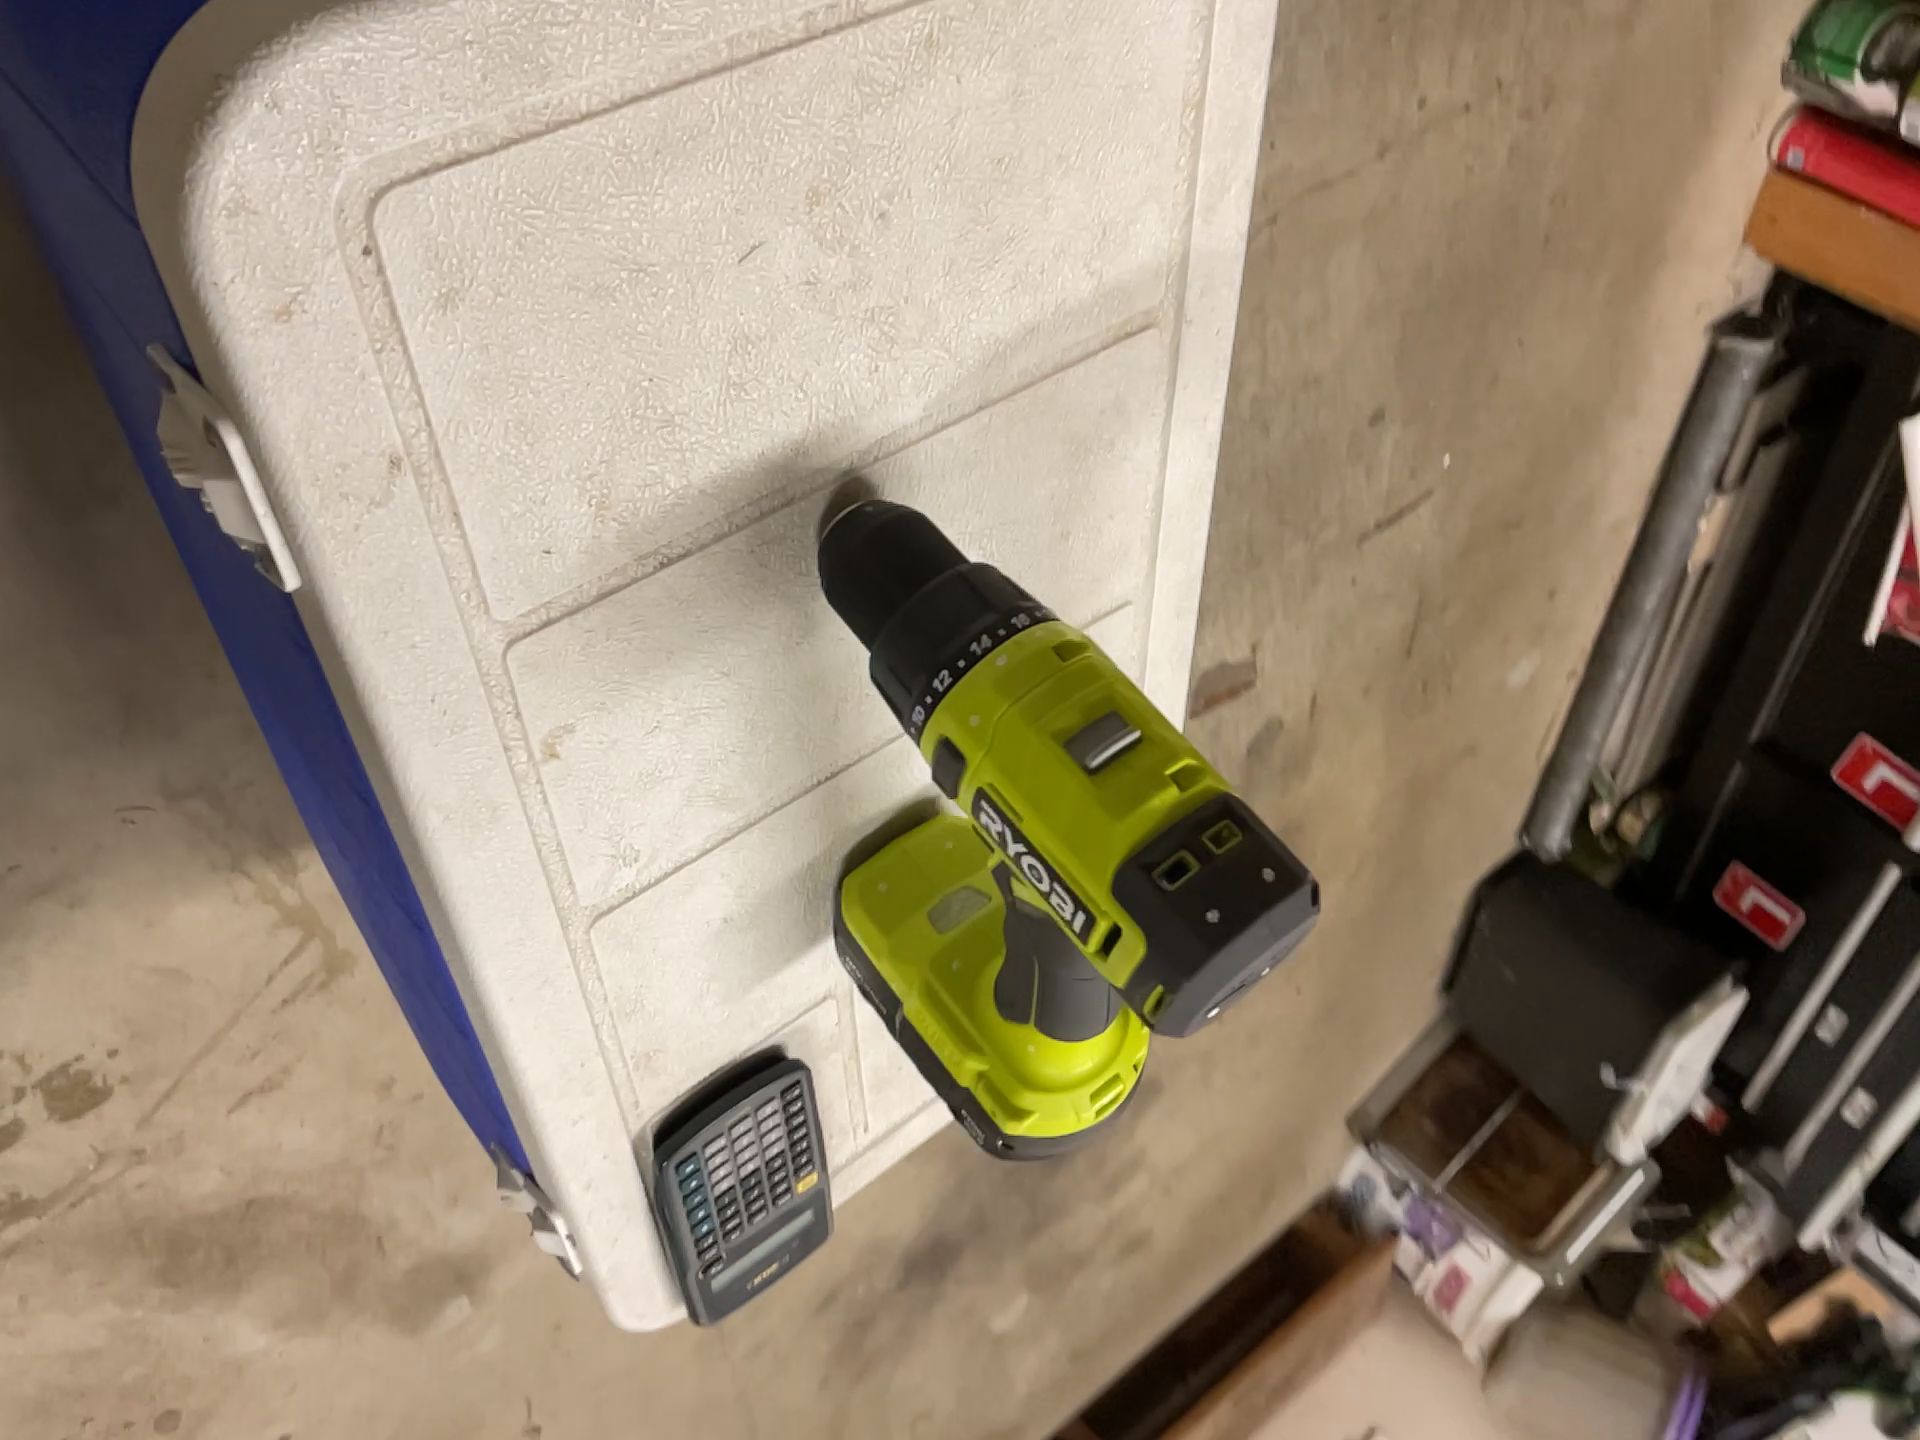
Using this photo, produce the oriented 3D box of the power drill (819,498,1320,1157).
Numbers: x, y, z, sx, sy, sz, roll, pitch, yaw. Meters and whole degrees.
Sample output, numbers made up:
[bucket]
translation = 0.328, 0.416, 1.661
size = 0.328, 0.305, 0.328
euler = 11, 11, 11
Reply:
[power drill]
translation = 0.014, 0.045, 0.550
size = 0.080, 0.190, 0.228
euler = -32, 158, -24
